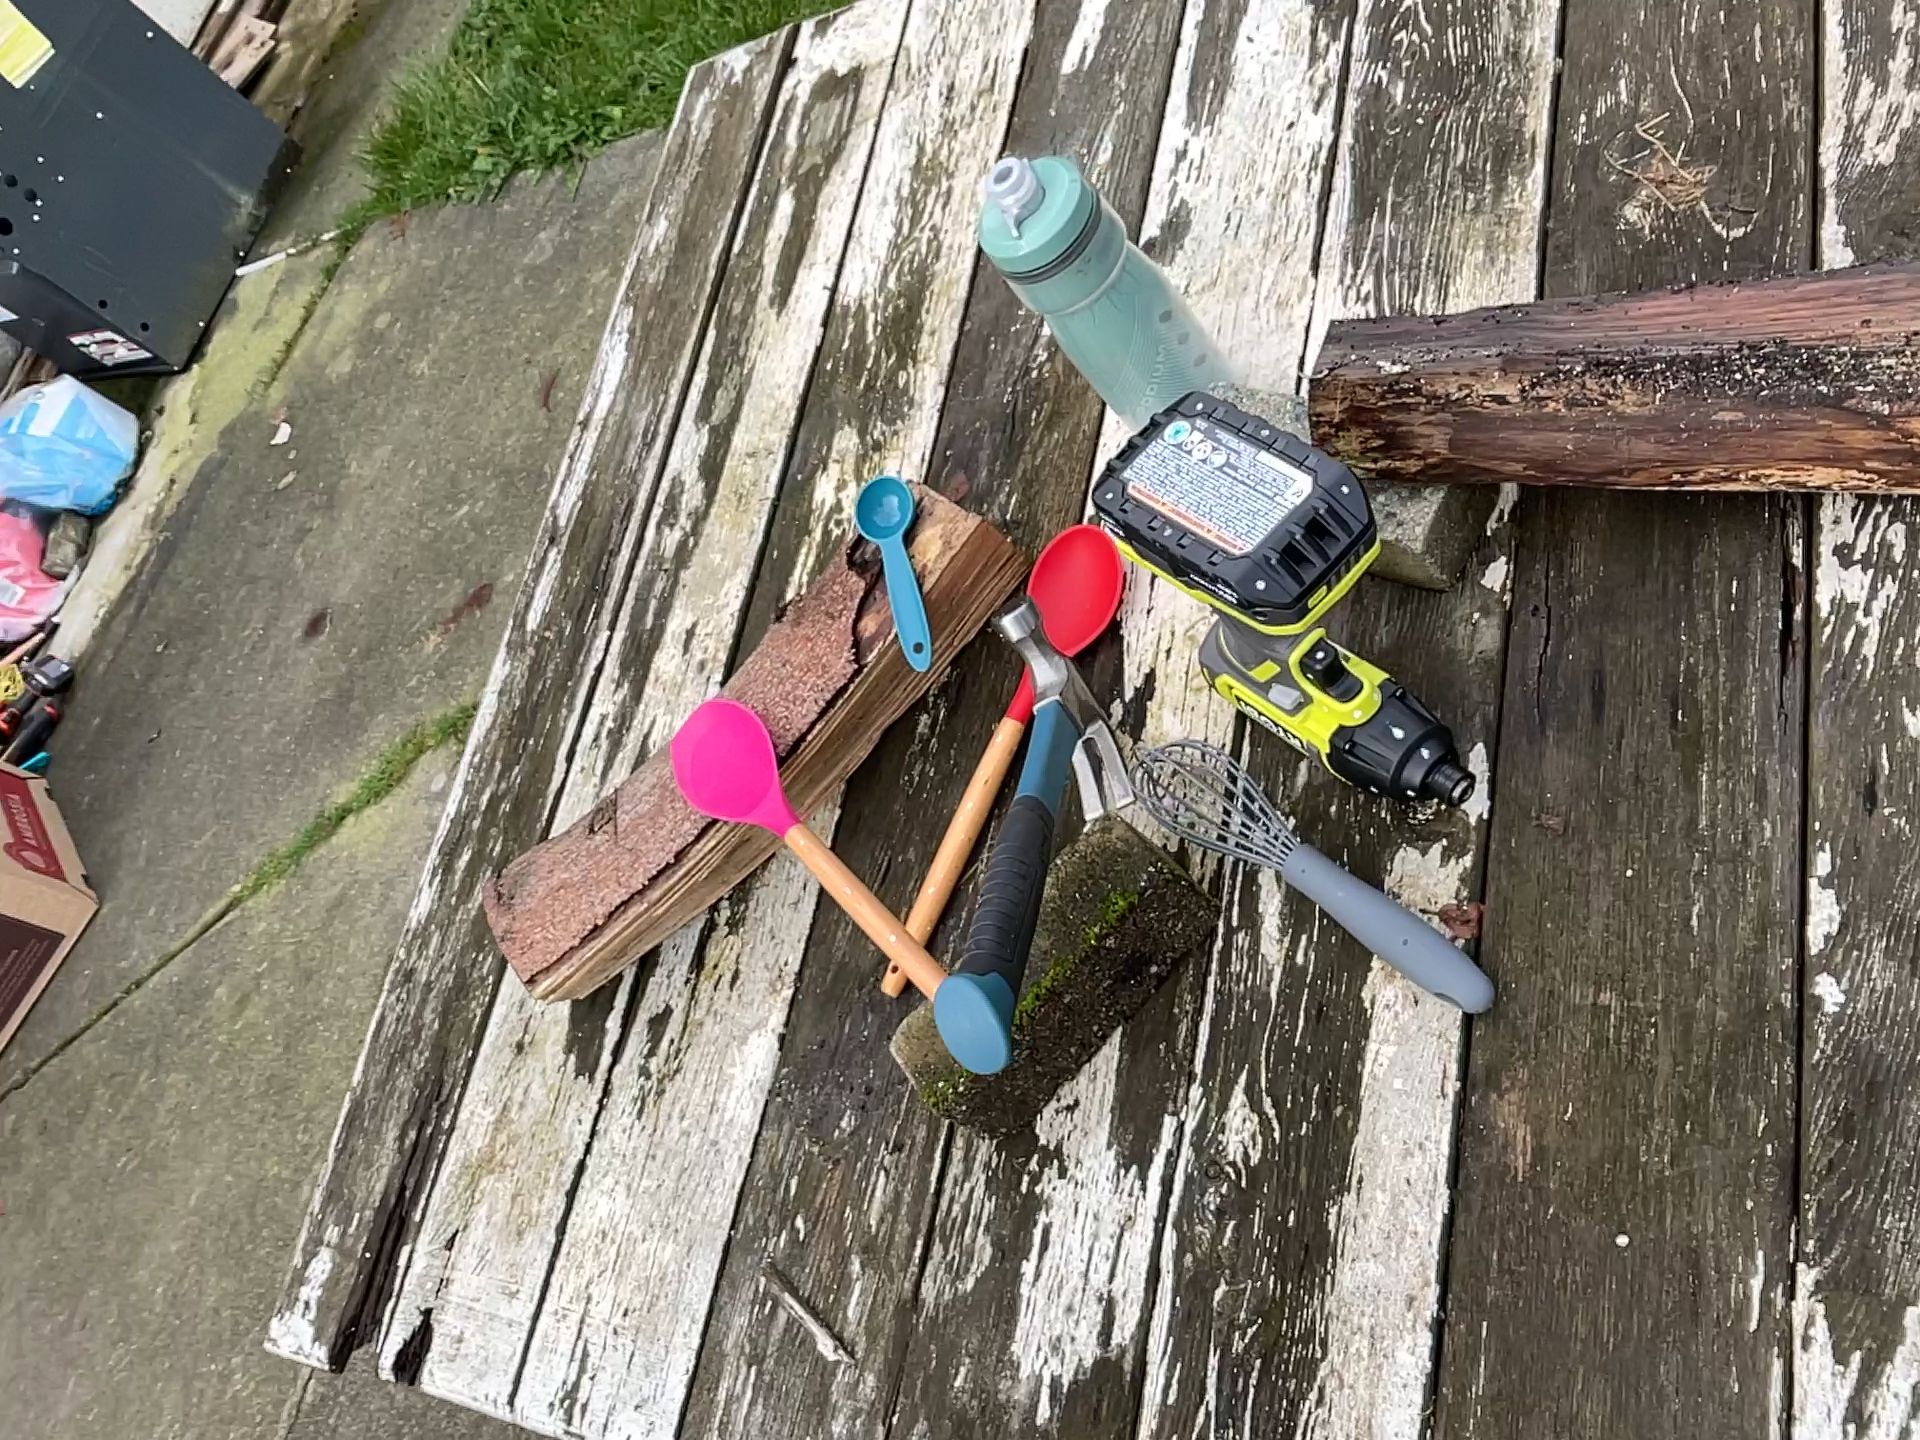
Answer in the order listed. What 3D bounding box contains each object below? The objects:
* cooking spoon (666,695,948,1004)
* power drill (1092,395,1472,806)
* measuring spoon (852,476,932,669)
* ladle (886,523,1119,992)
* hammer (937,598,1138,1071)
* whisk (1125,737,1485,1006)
[{"bbox_3d":[-0.086,0.080,0.936,0.069,0.017,0.319,-50,51,1],"label":"cooking spoon"},{"bbox_3d":[0.168,-0.047,0.797,0.080,0.222,0.171,-47,48,-5],"label":"power drill"},{"bbox_3d":[-0.035,-0.091,1.000,0.042,0.021,0.129,-21,76,25],"label":"measuring spoon"},{"bbox_3d":[0.024,0.023,0.997,0.069,0.031,0.315,18,79,39],"label":"ladle"},{"bbox_3d":[0.036,0.057,0.834,0.033,0.128,0.331,-27,20,25],"label":"hammer"},{"bbox_3d":[0.174,0.076,0.835,0.239,0.055,0.055,38,98,40],"label":"whisk"}]
